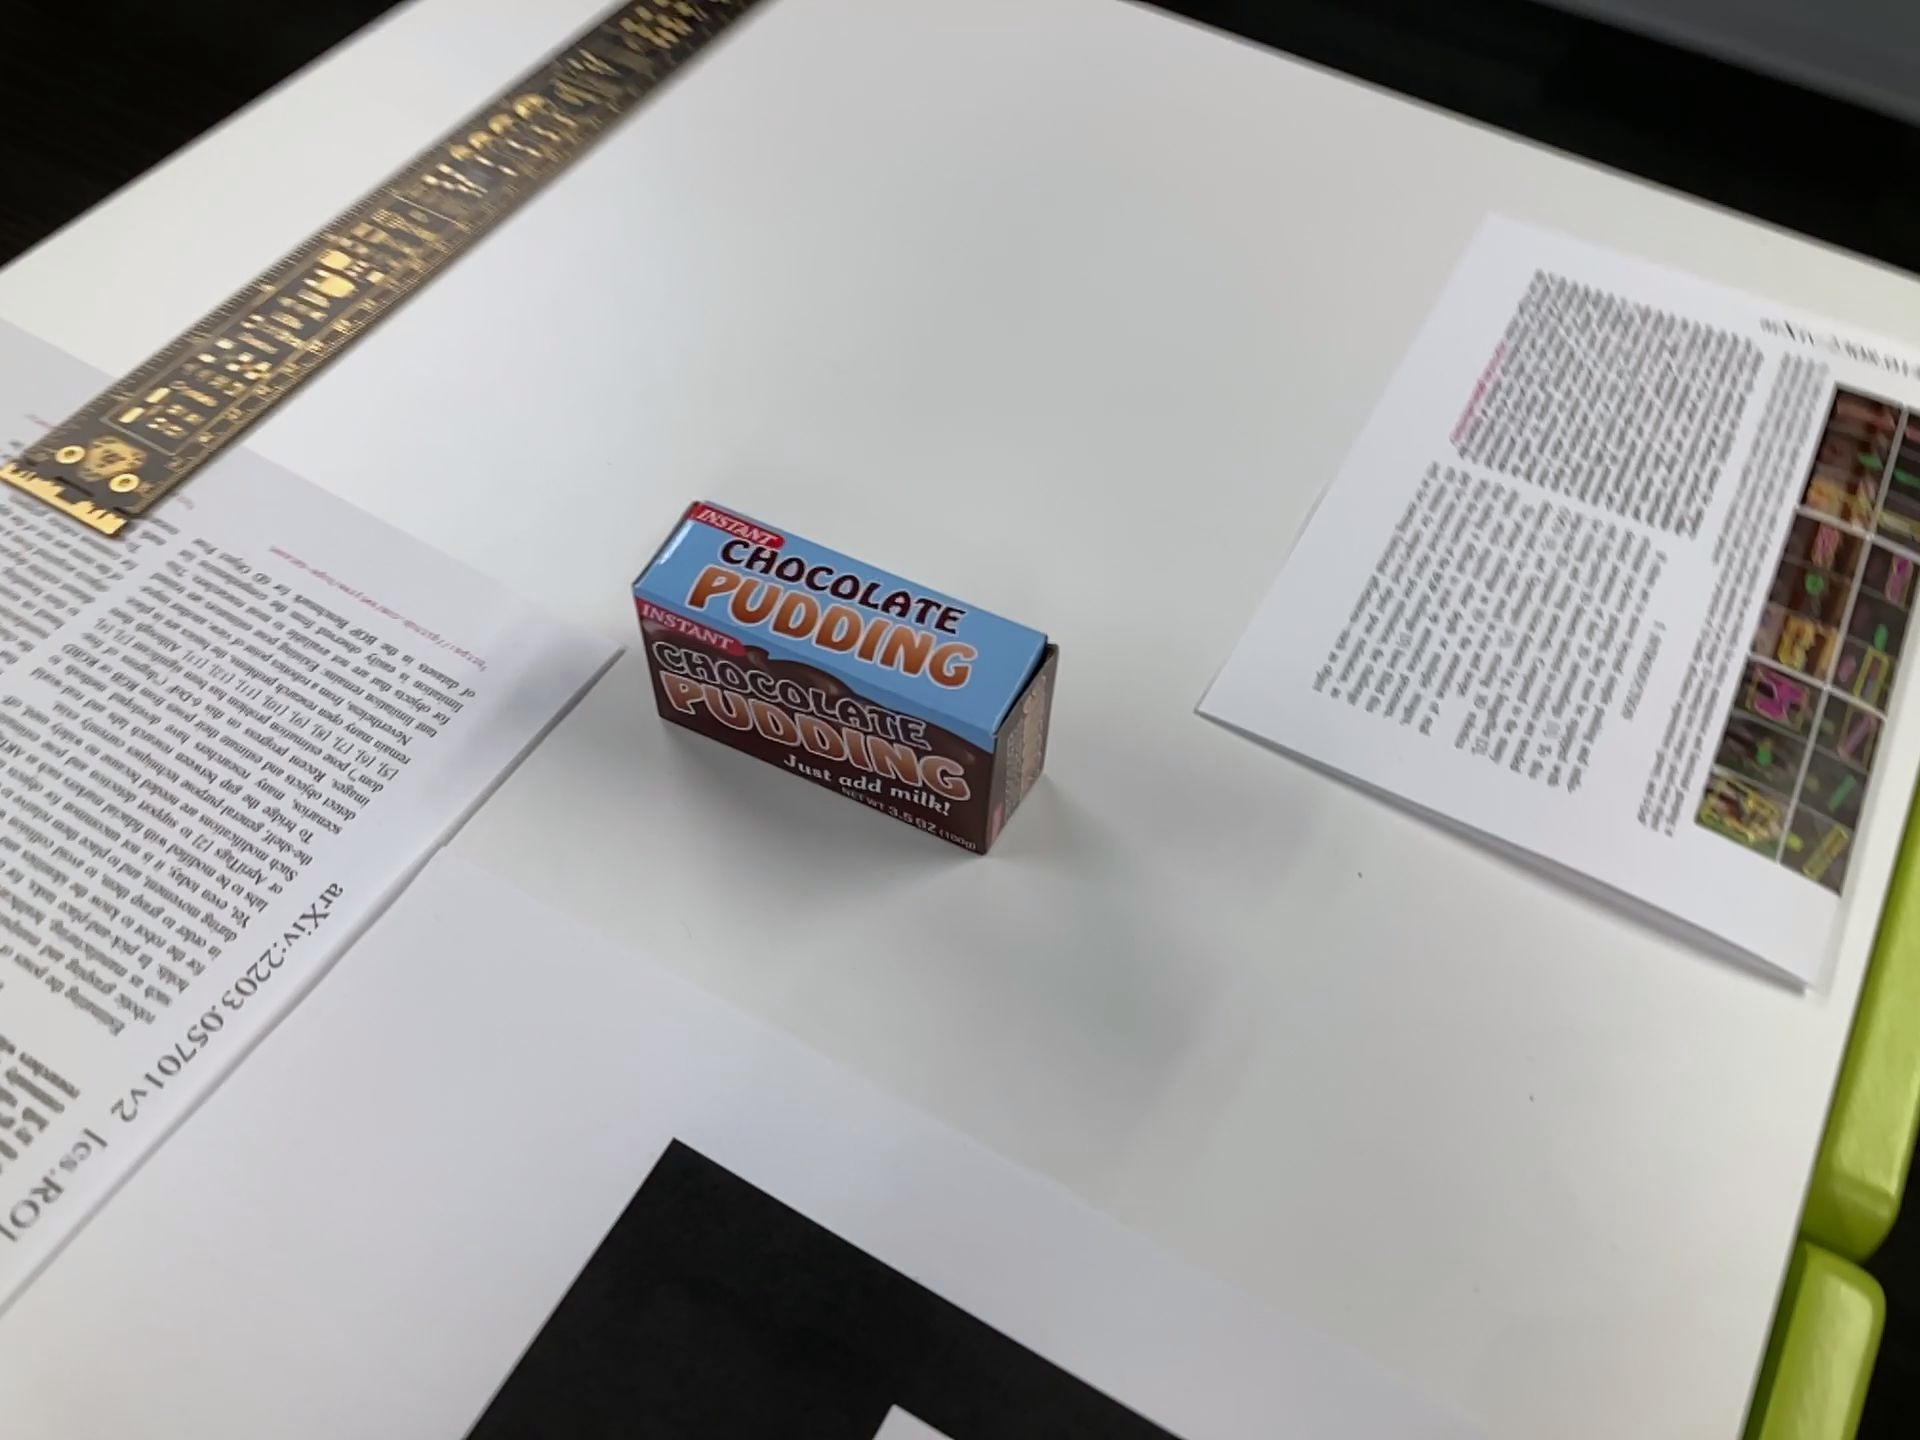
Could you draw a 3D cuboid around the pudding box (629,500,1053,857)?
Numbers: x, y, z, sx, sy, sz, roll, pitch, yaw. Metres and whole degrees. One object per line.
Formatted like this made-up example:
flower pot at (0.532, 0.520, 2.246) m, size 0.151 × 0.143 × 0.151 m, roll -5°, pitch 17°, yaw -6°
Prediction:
pudding box at (-0.025, -0.009, 0.337) m, size 0.083 × 0.049 × 0.030 m, roll 23°, pitch 58°, yaw 12°
